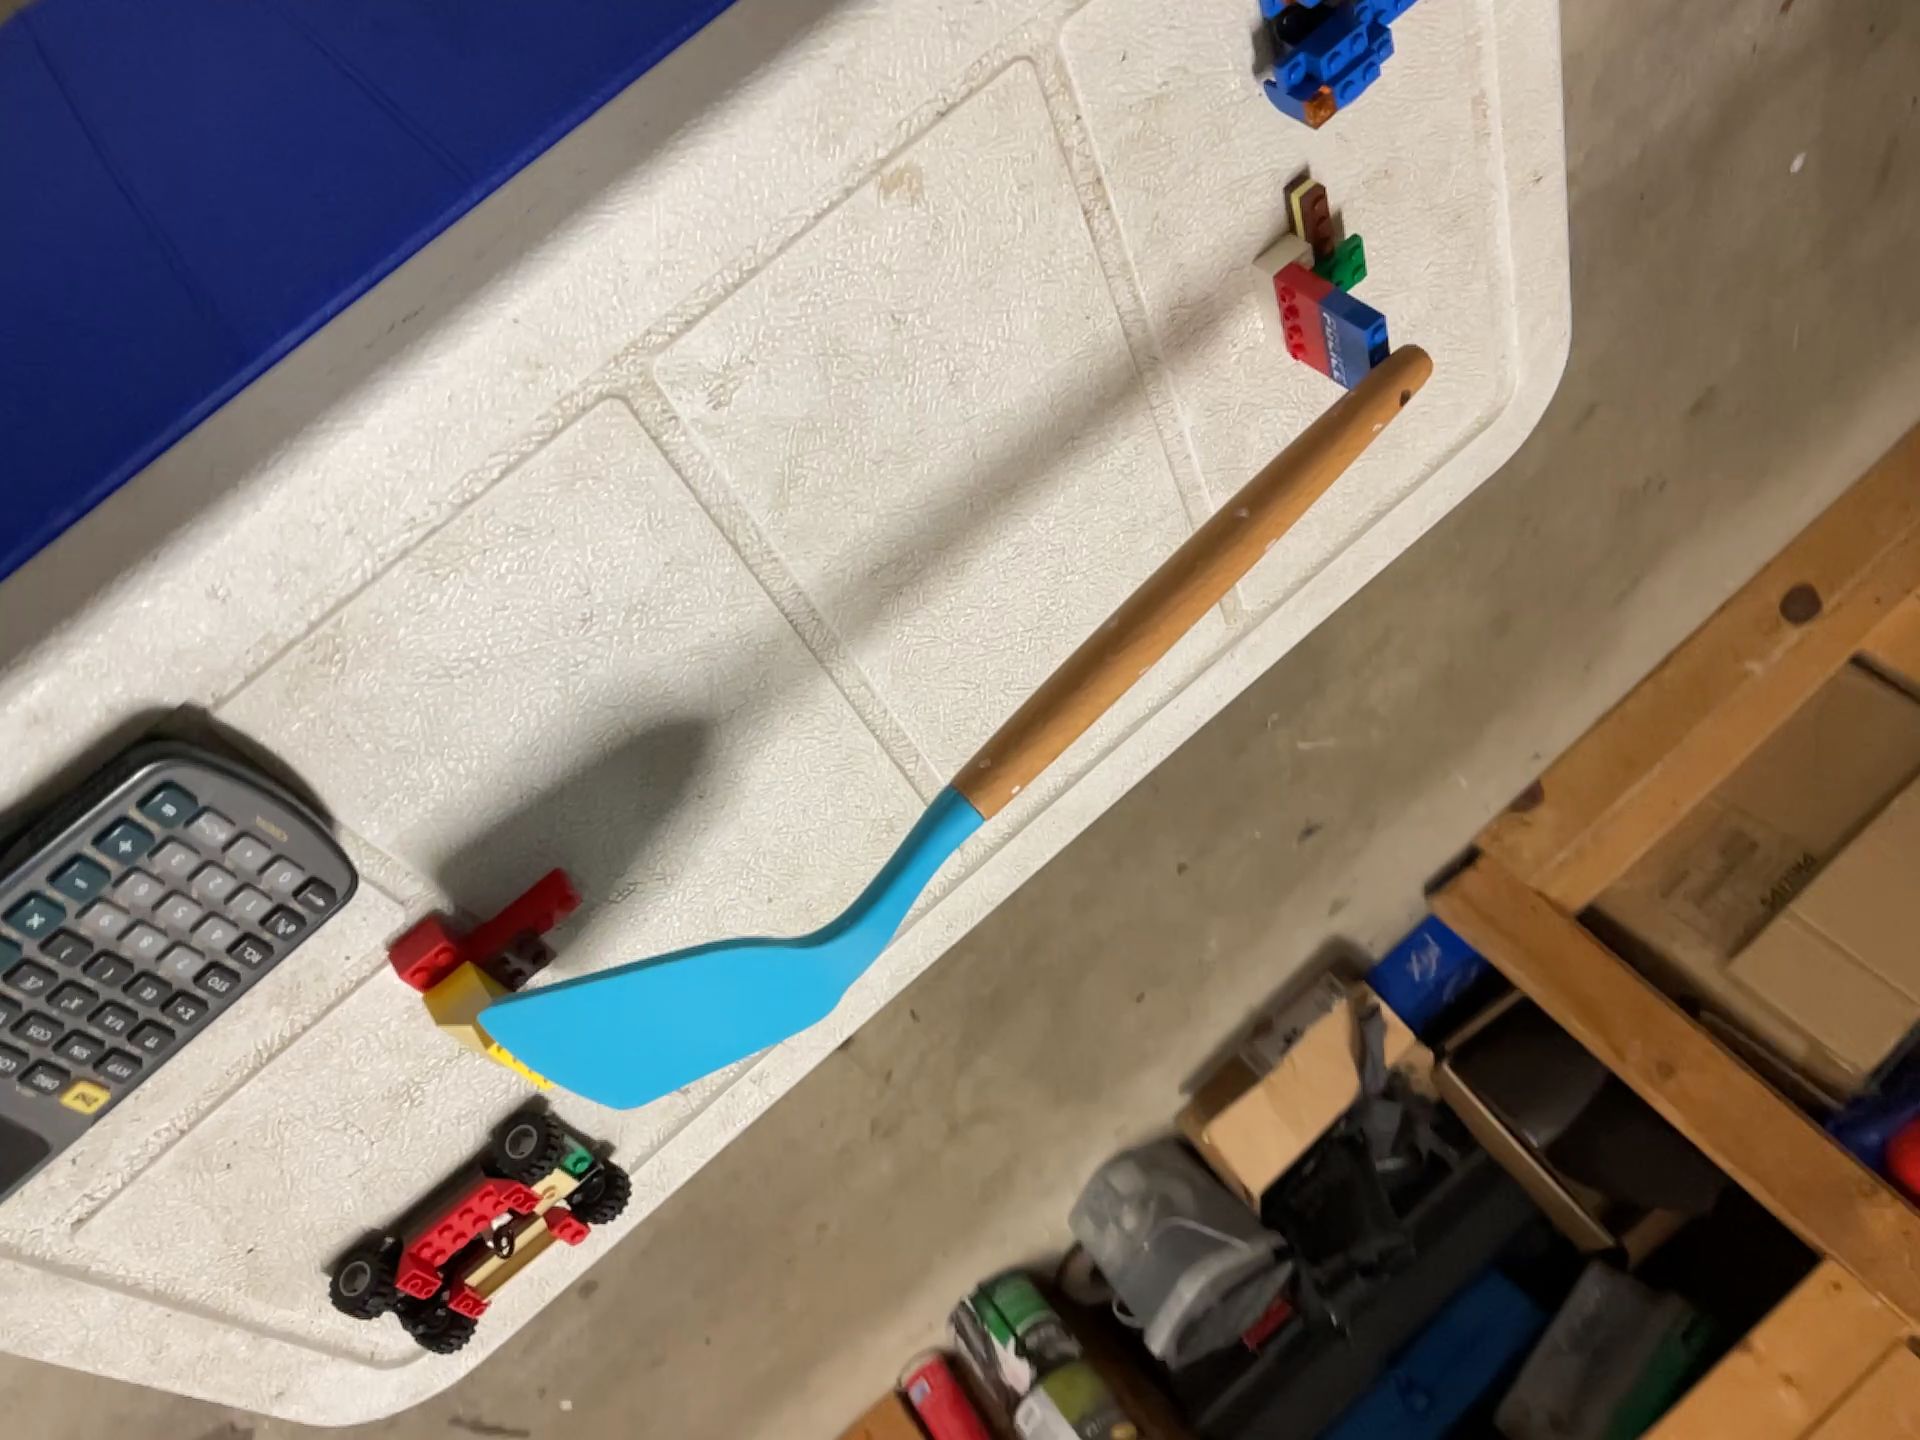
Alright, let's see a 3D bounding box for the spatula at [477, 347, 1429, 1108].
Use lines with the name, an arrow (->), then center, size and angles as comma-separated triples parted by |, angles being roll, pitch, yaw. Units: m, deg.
spatula -> 0.013, -0.002, 0.448 | 0.317, 0.044, 0.082 | -44, 143, -8
